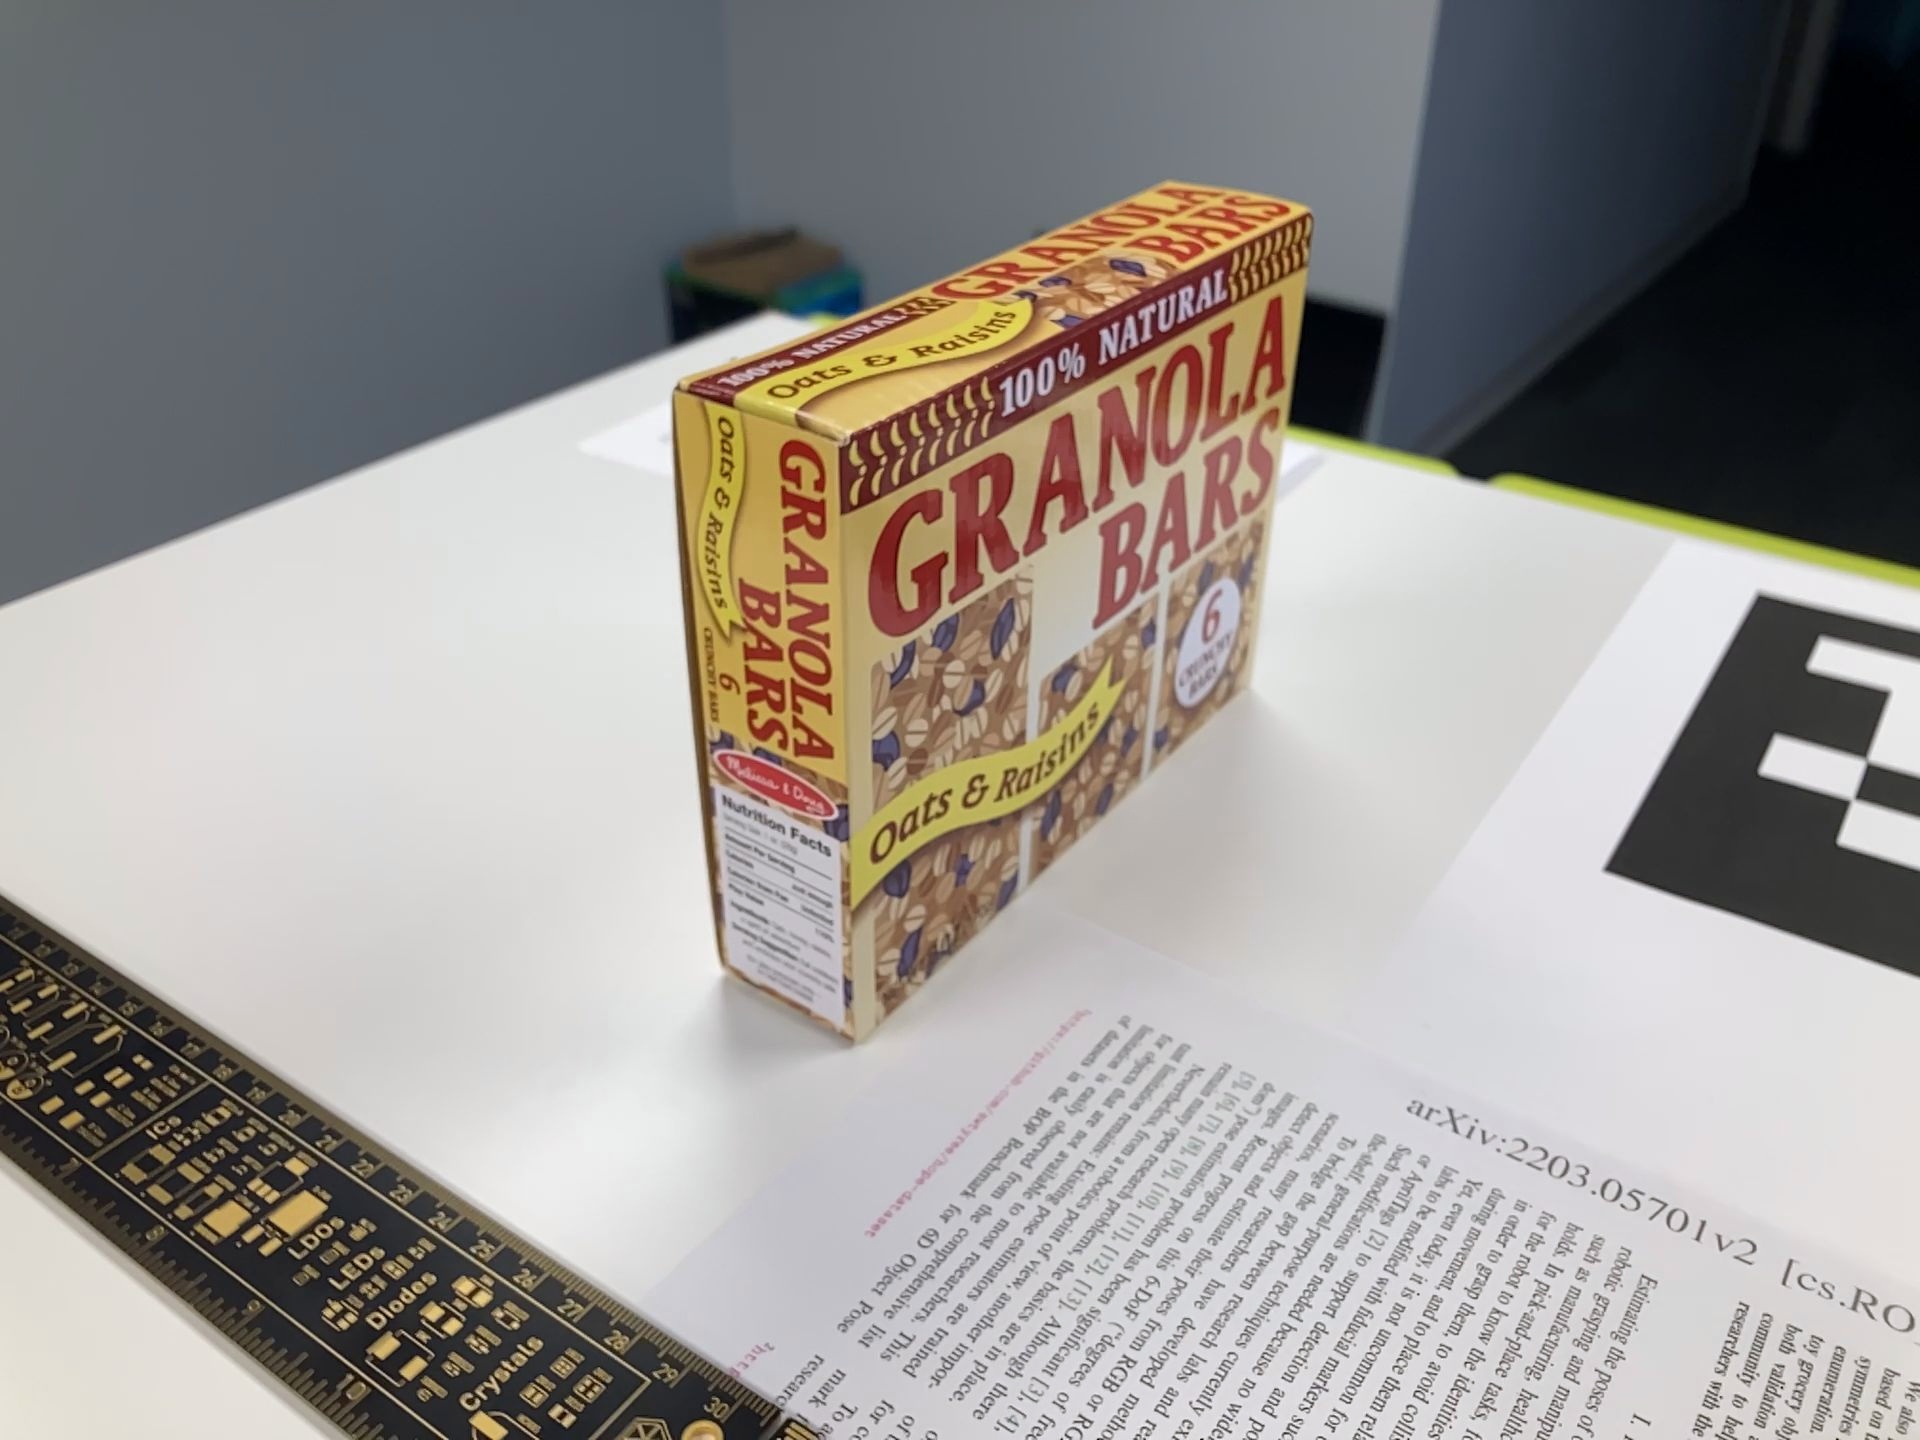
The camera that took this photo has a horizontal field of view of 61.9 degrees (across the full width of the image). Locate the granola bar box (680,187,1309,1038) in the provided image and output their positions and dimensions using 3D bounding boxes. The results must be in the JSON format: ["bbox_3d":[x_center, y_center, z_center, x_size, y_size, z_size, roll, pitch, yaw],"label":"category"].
[{"bbox_3d":[0.014,-0.032,0.338,0.039,0.124,0.165,21,37,28],"label":"granola bar box"}]
